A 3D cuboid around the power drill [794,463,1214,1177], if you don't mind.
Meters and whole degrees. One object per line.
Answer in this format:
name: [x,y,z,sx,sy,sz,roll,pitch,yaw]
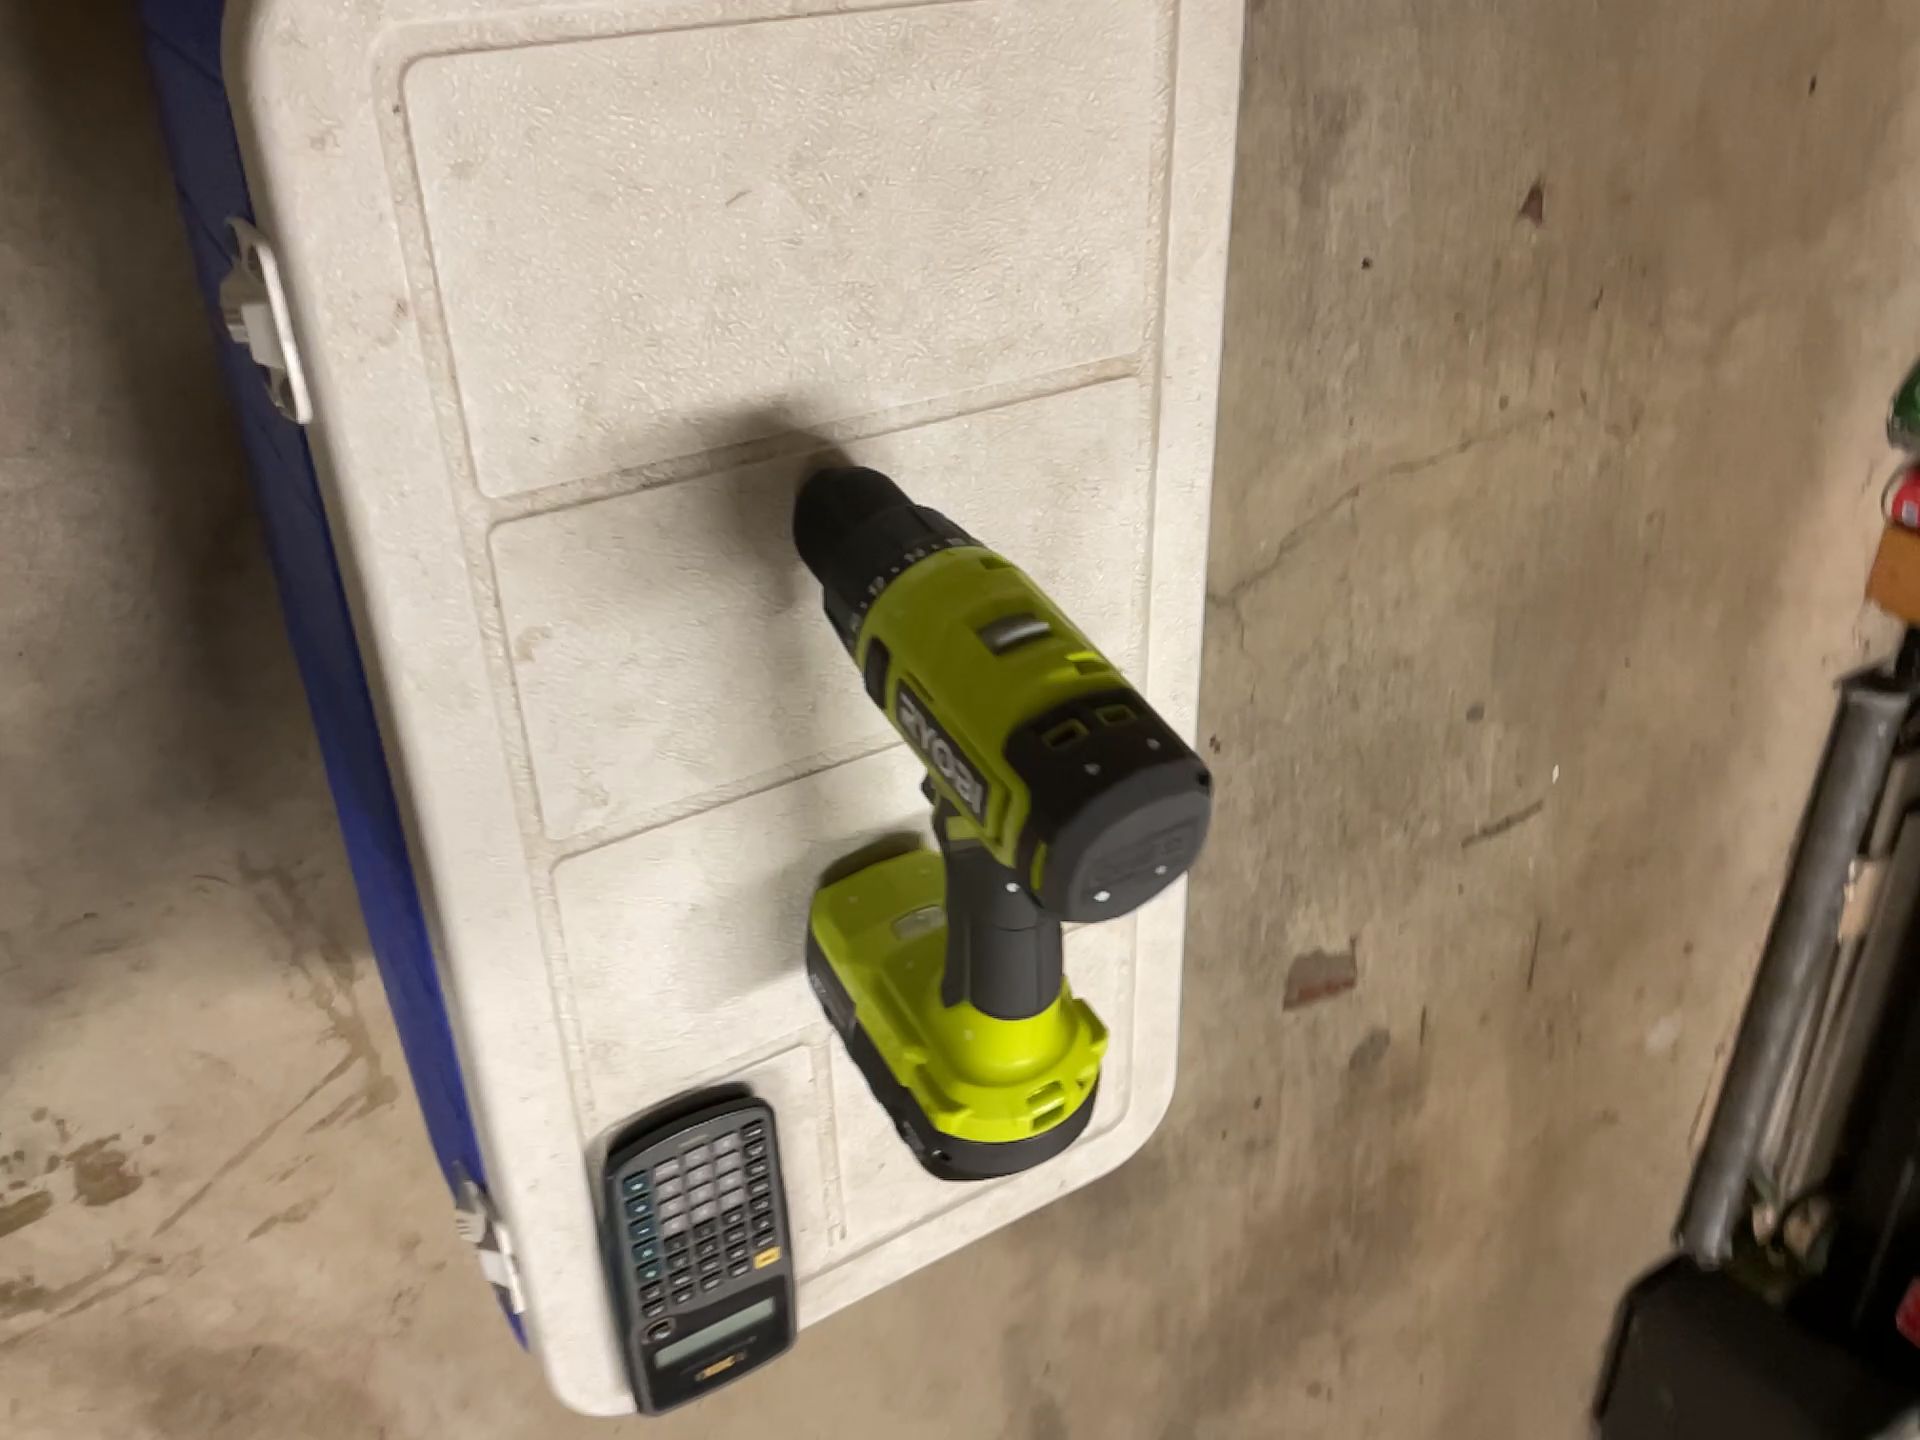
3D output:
power drill: [-0.004,0.037,0.566,0.080,0.190,0.228,-21,140,-25]
